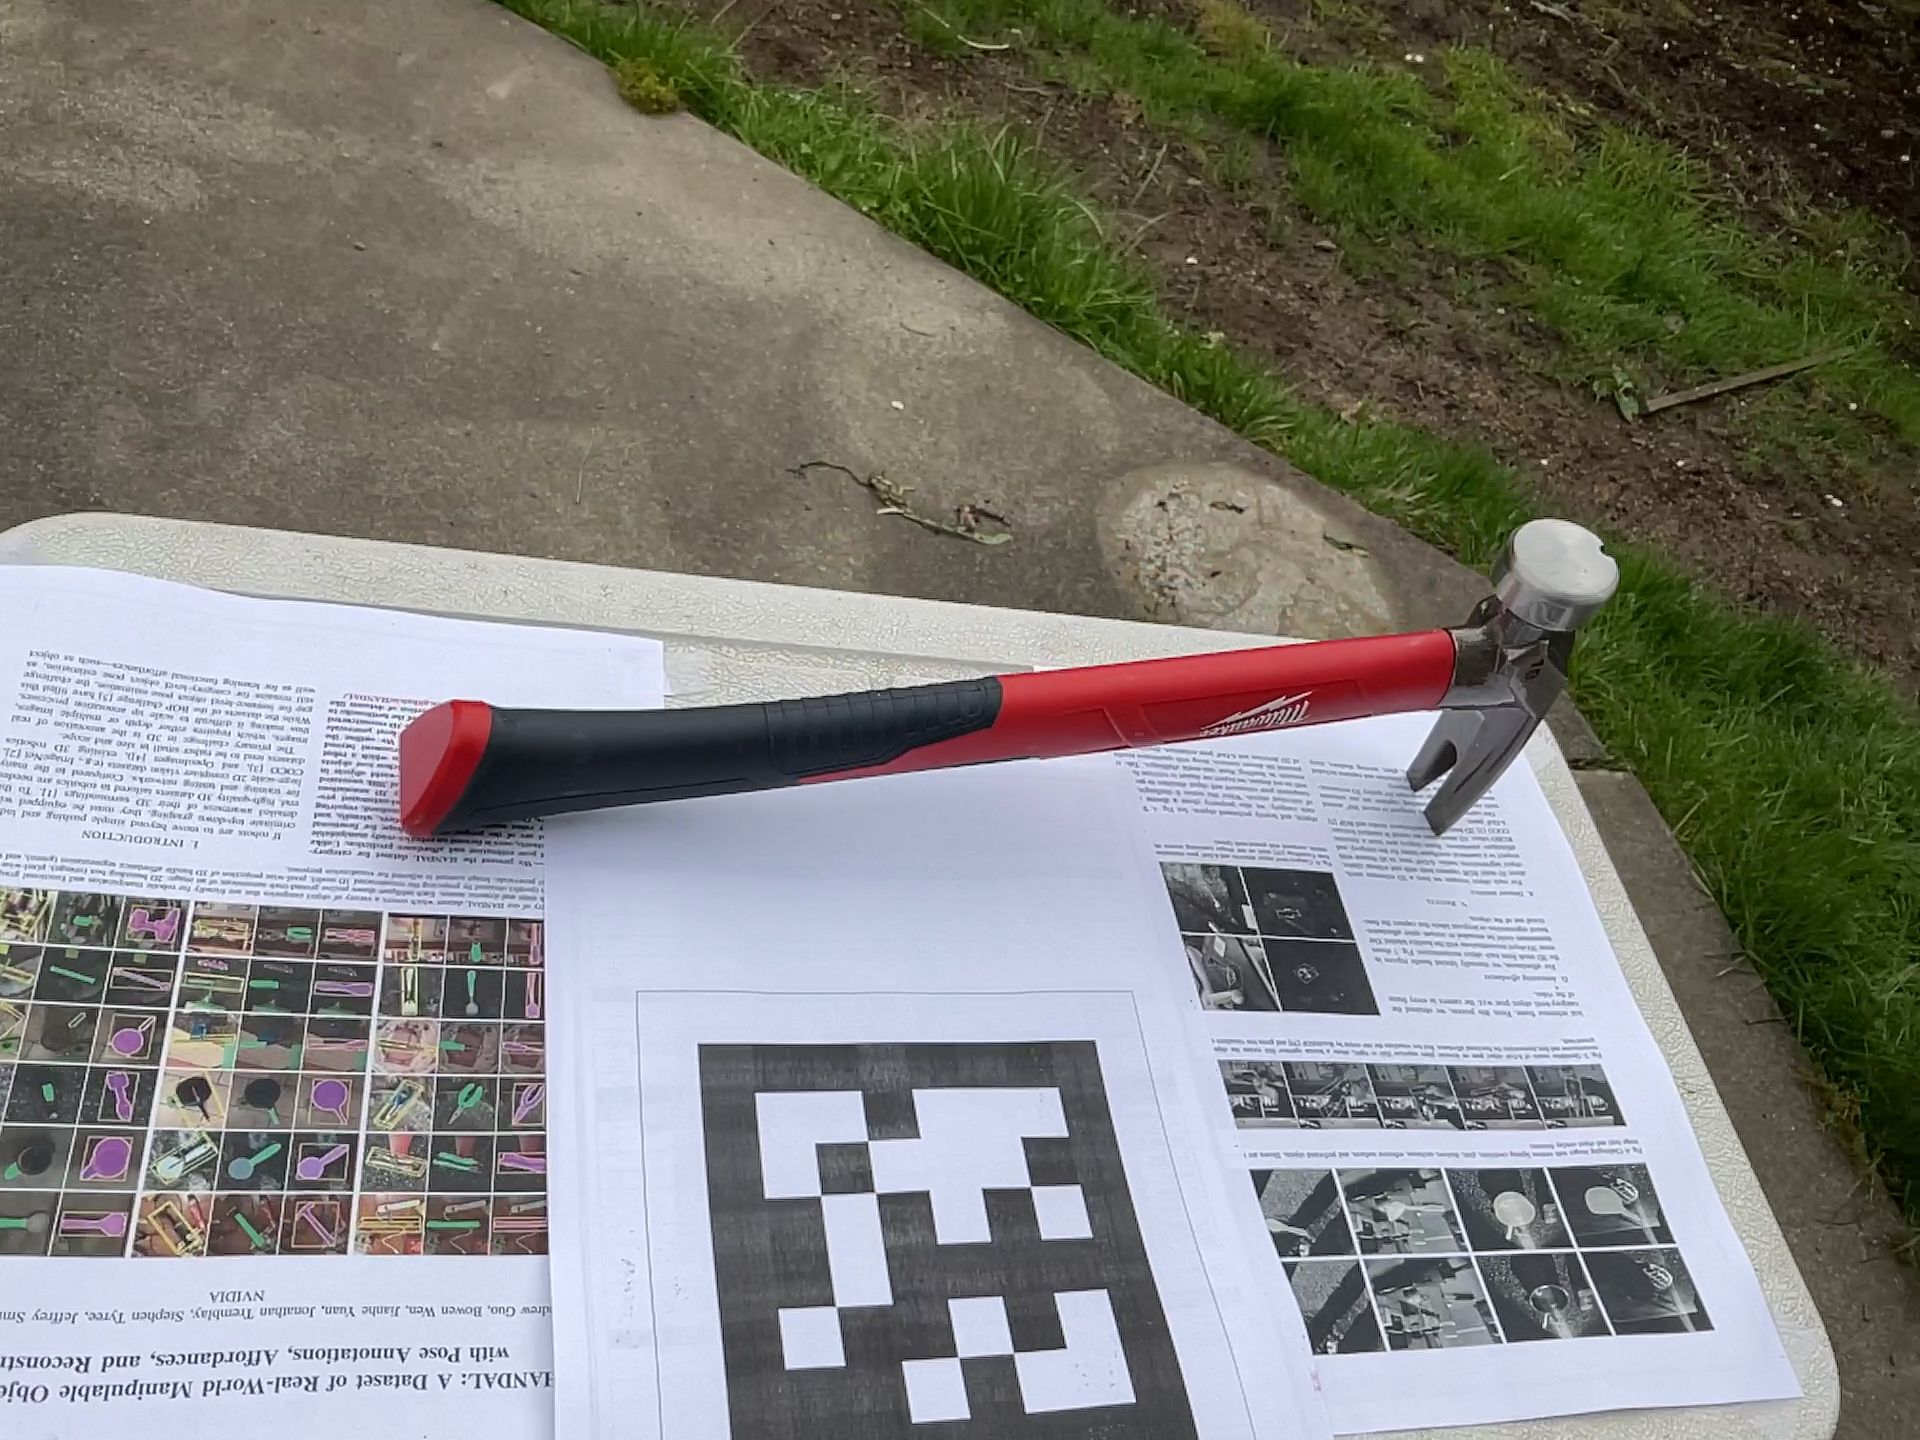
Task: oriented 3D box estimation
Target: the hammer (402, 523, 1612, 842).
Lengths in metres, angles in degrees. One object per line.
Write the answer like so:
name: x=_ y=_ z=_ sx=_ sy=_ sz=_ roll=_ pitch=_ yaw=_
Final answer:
hammer: x=0.018 y=0.010 z=0.536 sx=0.386 sy=0.143 sz=0.038 roll=-6 pitch=53 yaw=-13
